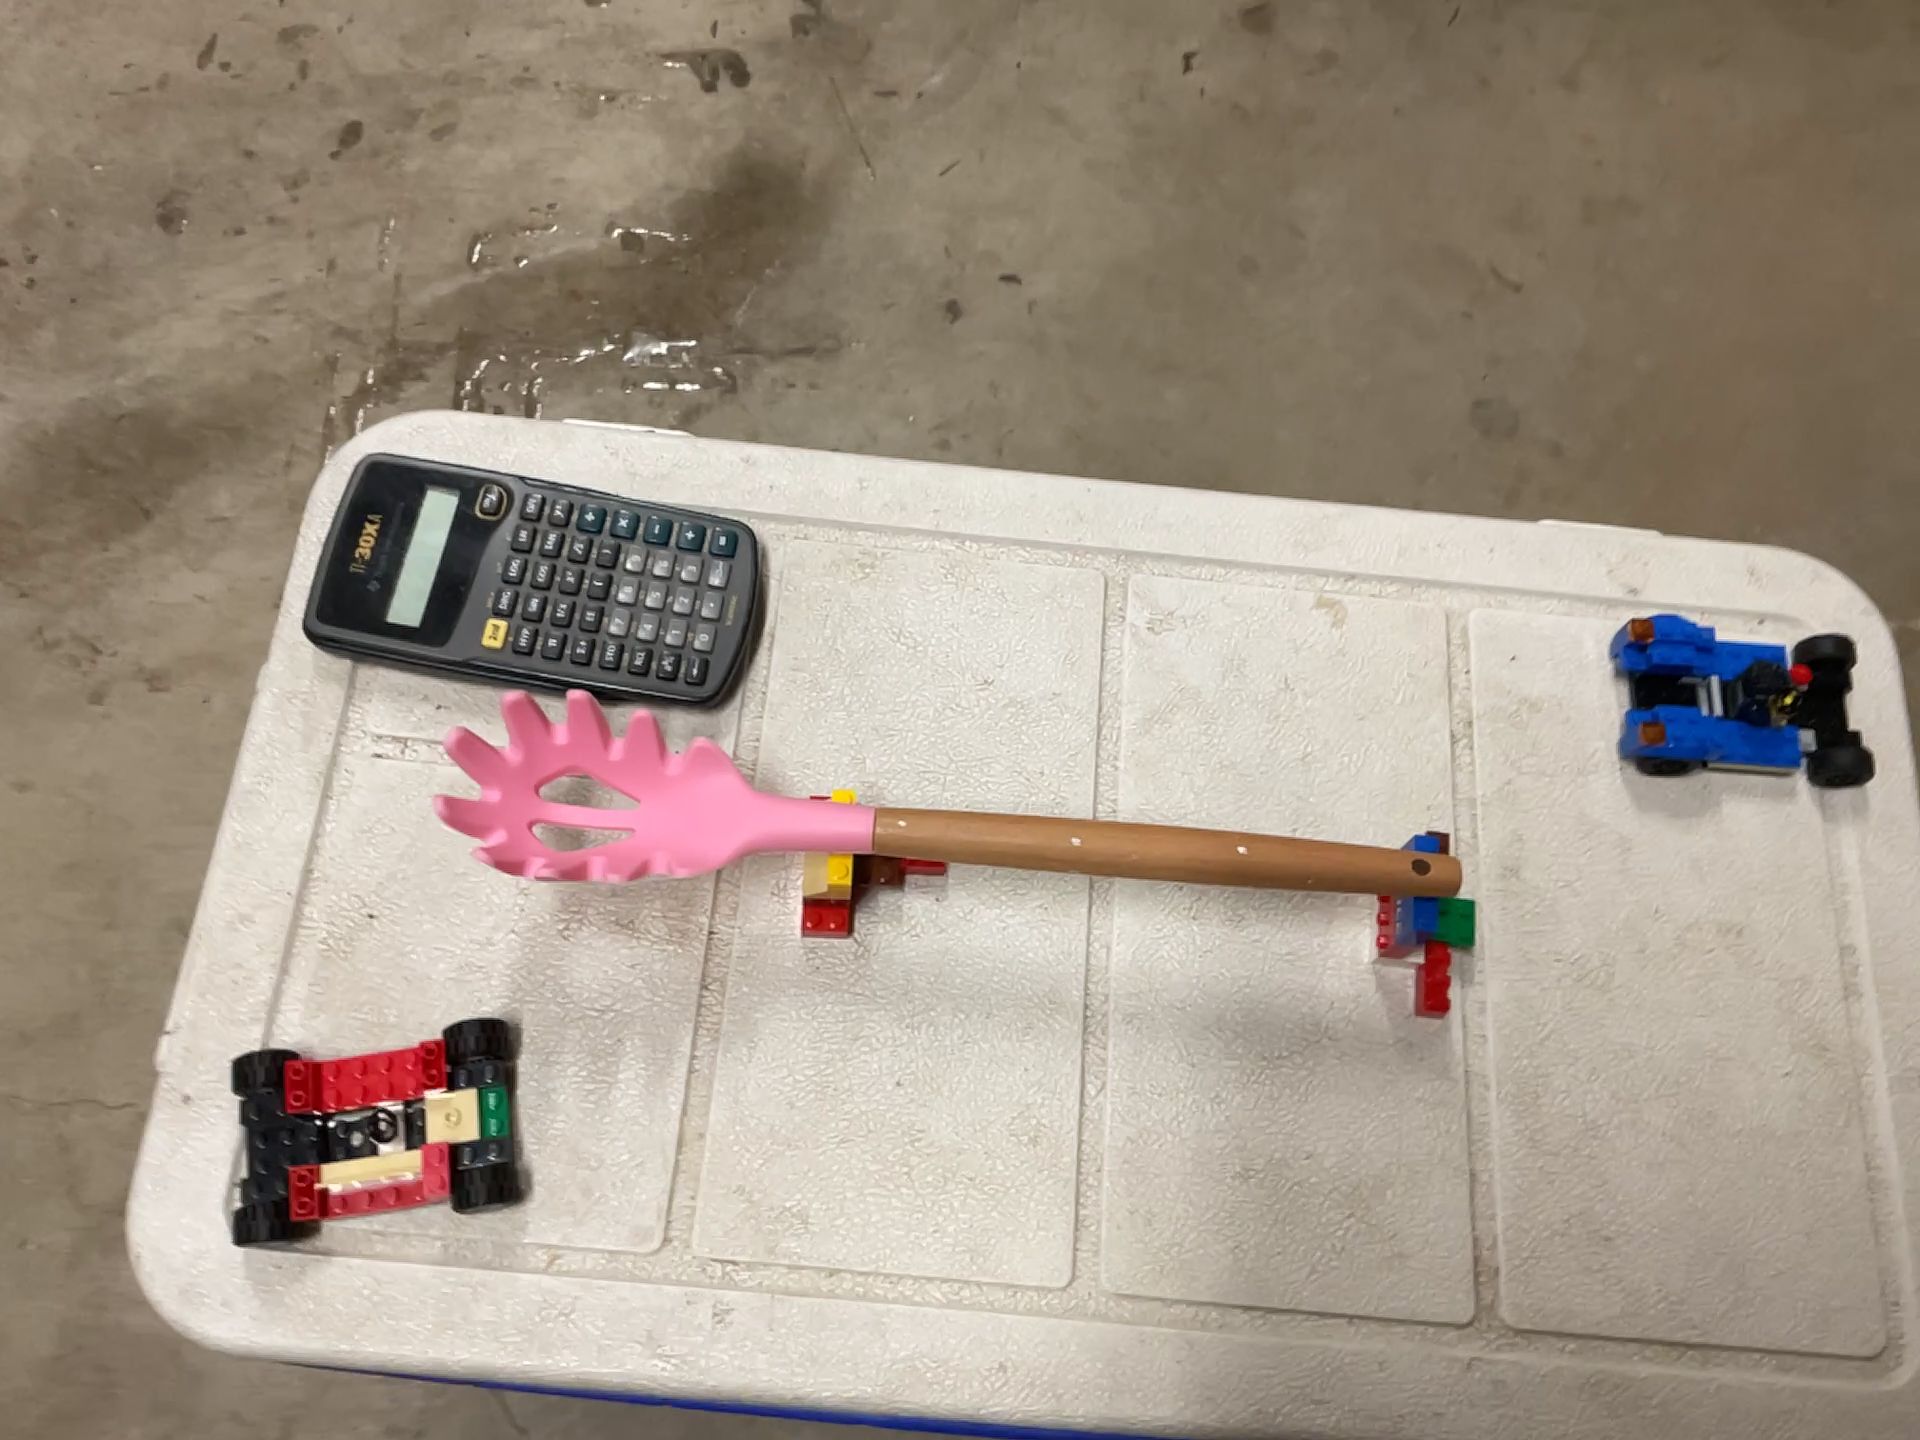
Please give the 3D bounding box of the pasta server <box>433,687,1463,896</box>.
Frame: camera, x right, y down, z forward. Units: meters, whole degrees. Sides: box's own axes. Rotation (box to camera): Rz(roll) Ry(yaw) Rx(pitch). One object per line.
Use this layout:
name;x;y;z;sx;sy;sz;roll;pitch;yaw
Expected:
pasta server;0.001;0.034;0.496;0.316;0.040;0.060;5;69;-1
